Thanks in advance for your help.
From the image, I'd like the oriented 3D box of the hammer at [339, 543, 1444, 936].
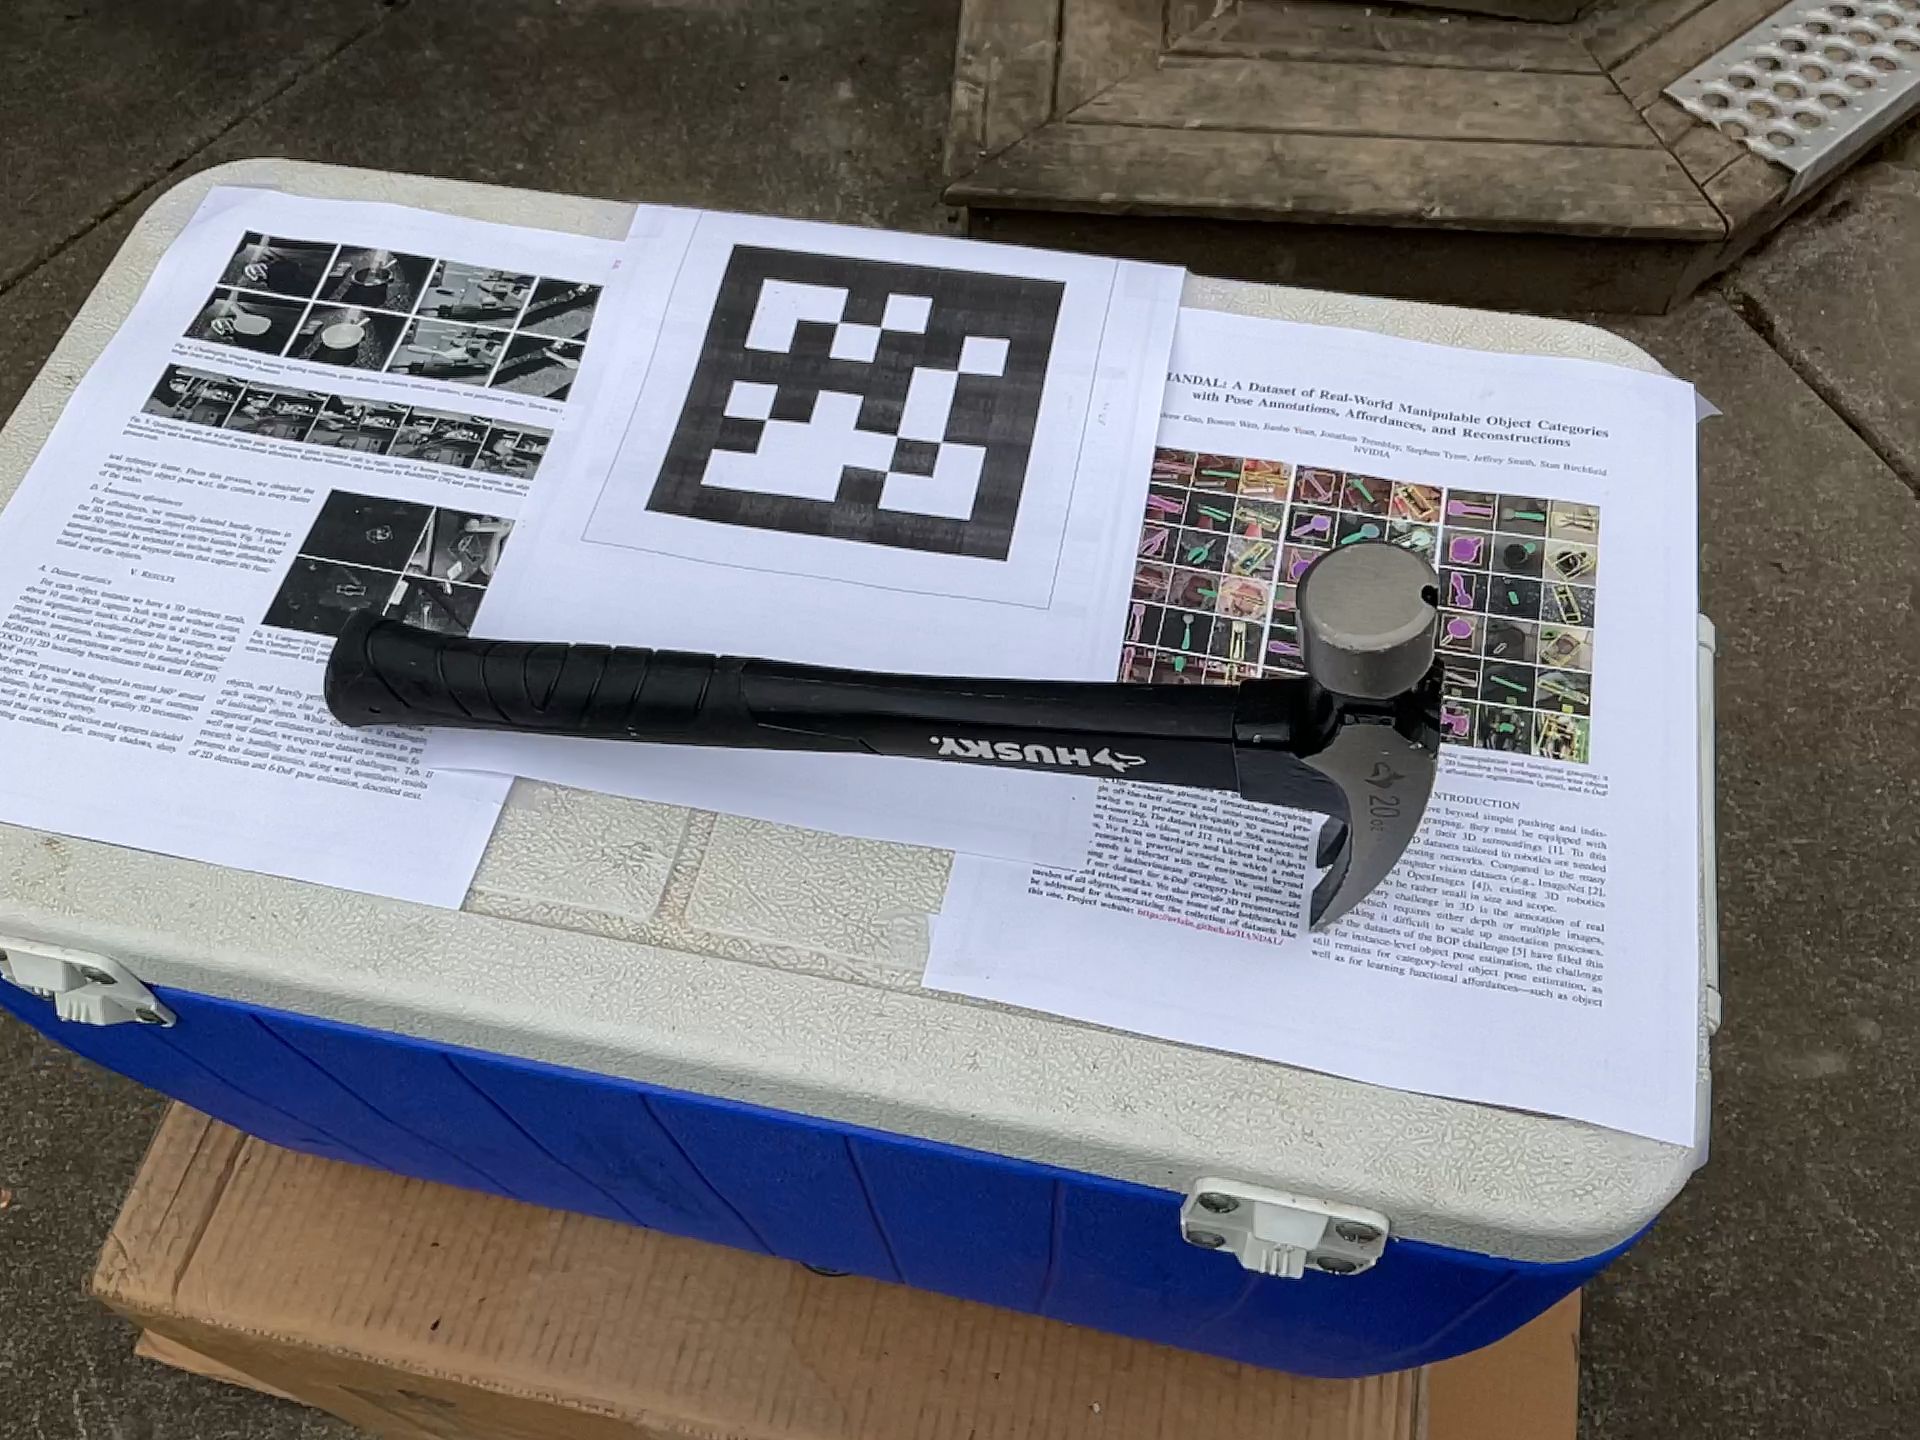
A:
[{"bbox_3d":[-0.035,0.001,0.466,0.335,0.146,0.035,4,58,18],"label":"hammer"}]
